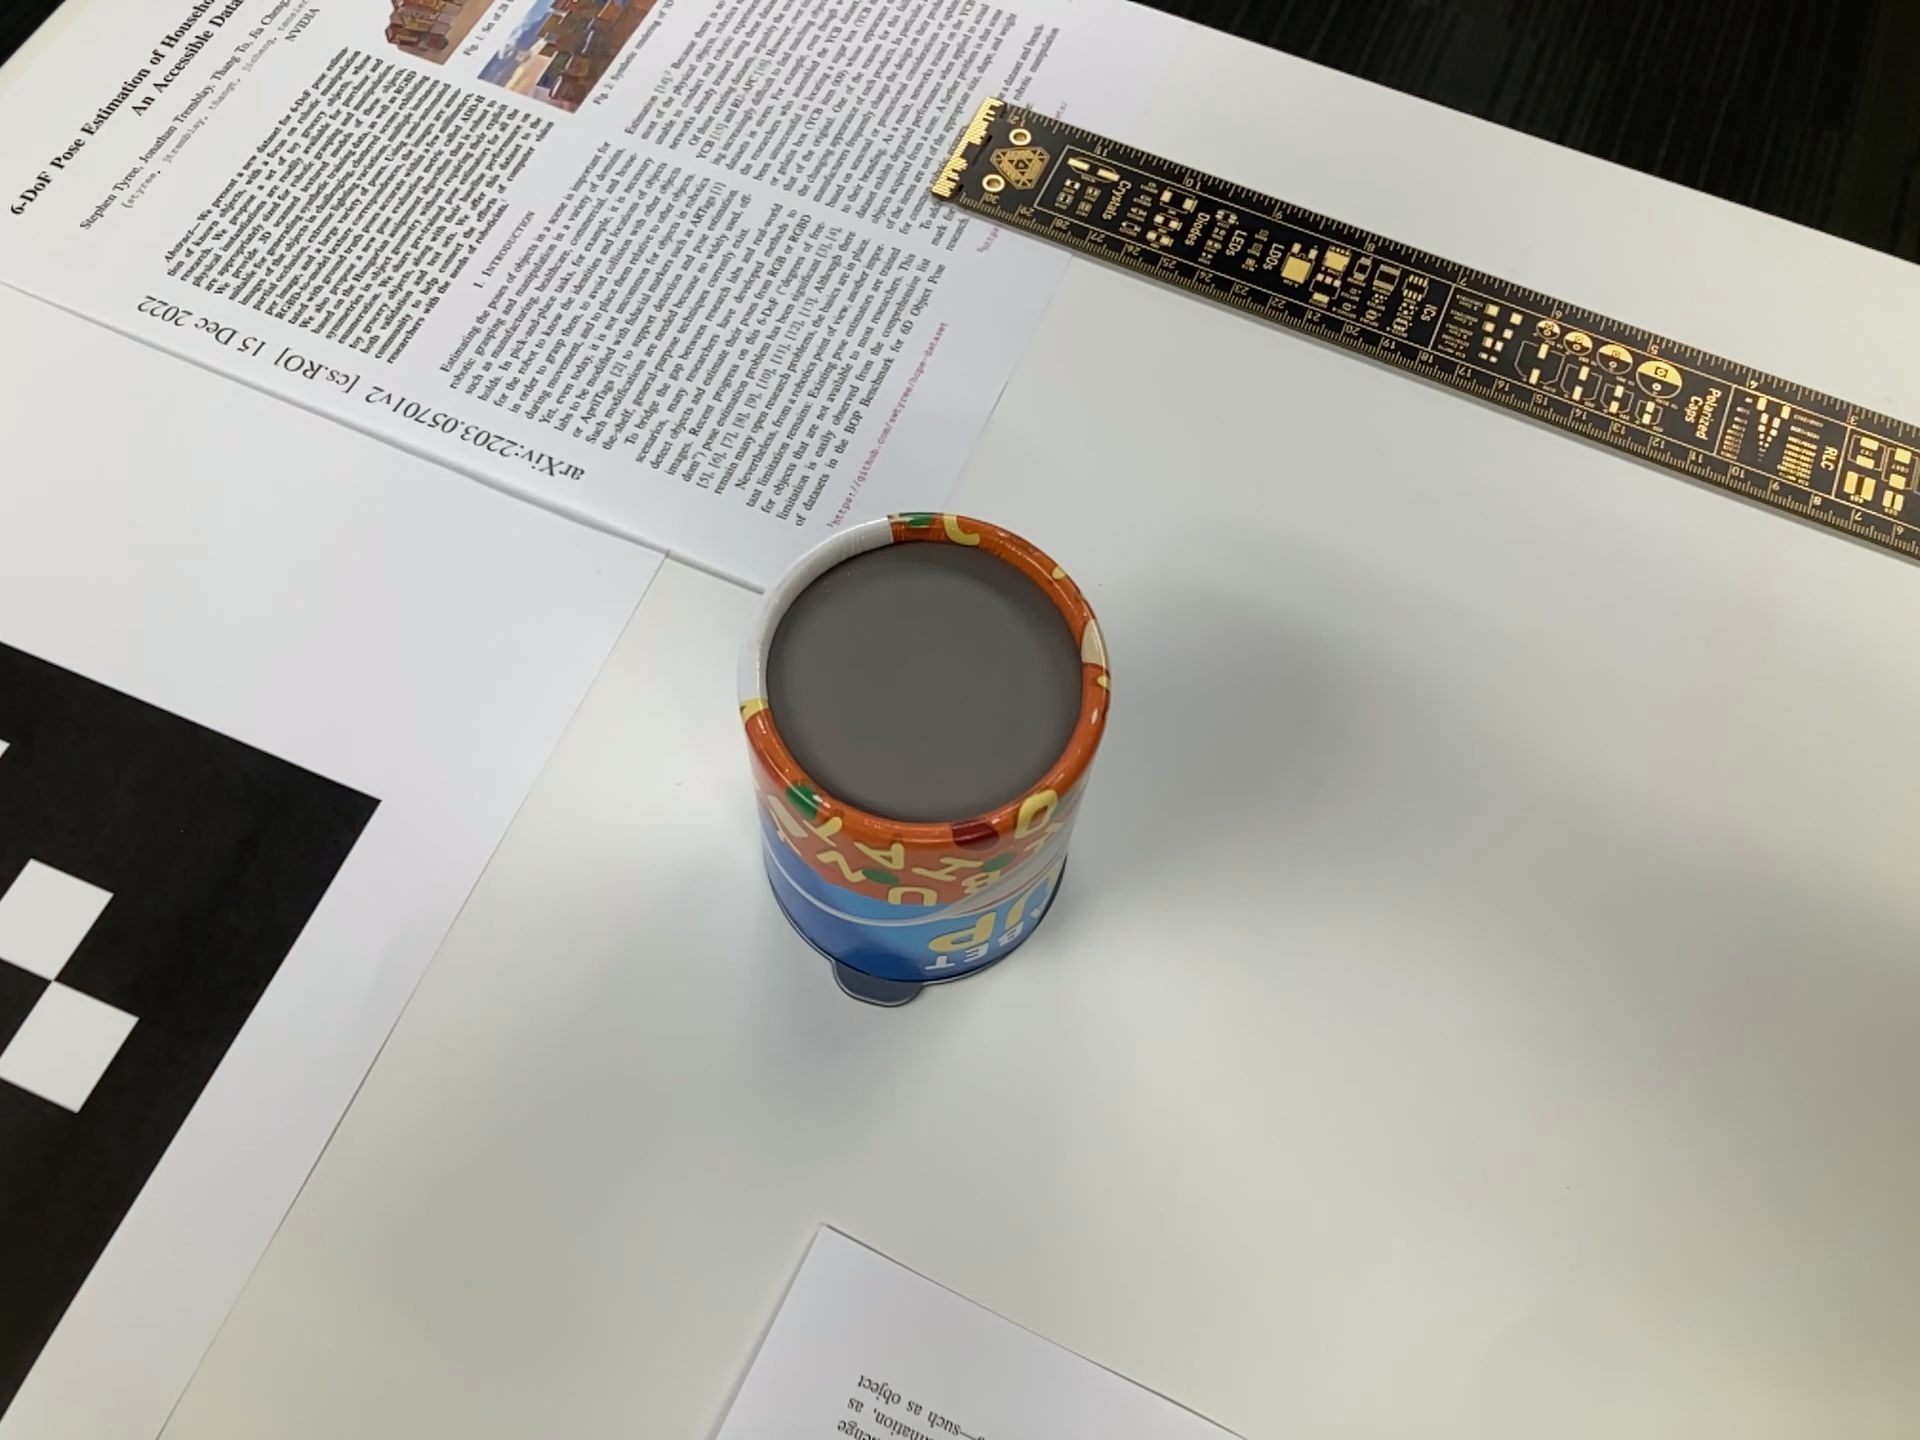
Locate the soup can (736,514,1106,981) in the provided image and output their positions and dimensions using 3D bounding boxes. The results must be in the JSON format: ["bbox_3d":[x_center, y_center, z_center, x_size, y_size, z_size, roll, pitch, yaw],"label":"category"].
[{"bbox_3d":[-0.006,0.010,0.313,0.071,0.084,0.071,1,66,-2],"label":"soup can"}]
